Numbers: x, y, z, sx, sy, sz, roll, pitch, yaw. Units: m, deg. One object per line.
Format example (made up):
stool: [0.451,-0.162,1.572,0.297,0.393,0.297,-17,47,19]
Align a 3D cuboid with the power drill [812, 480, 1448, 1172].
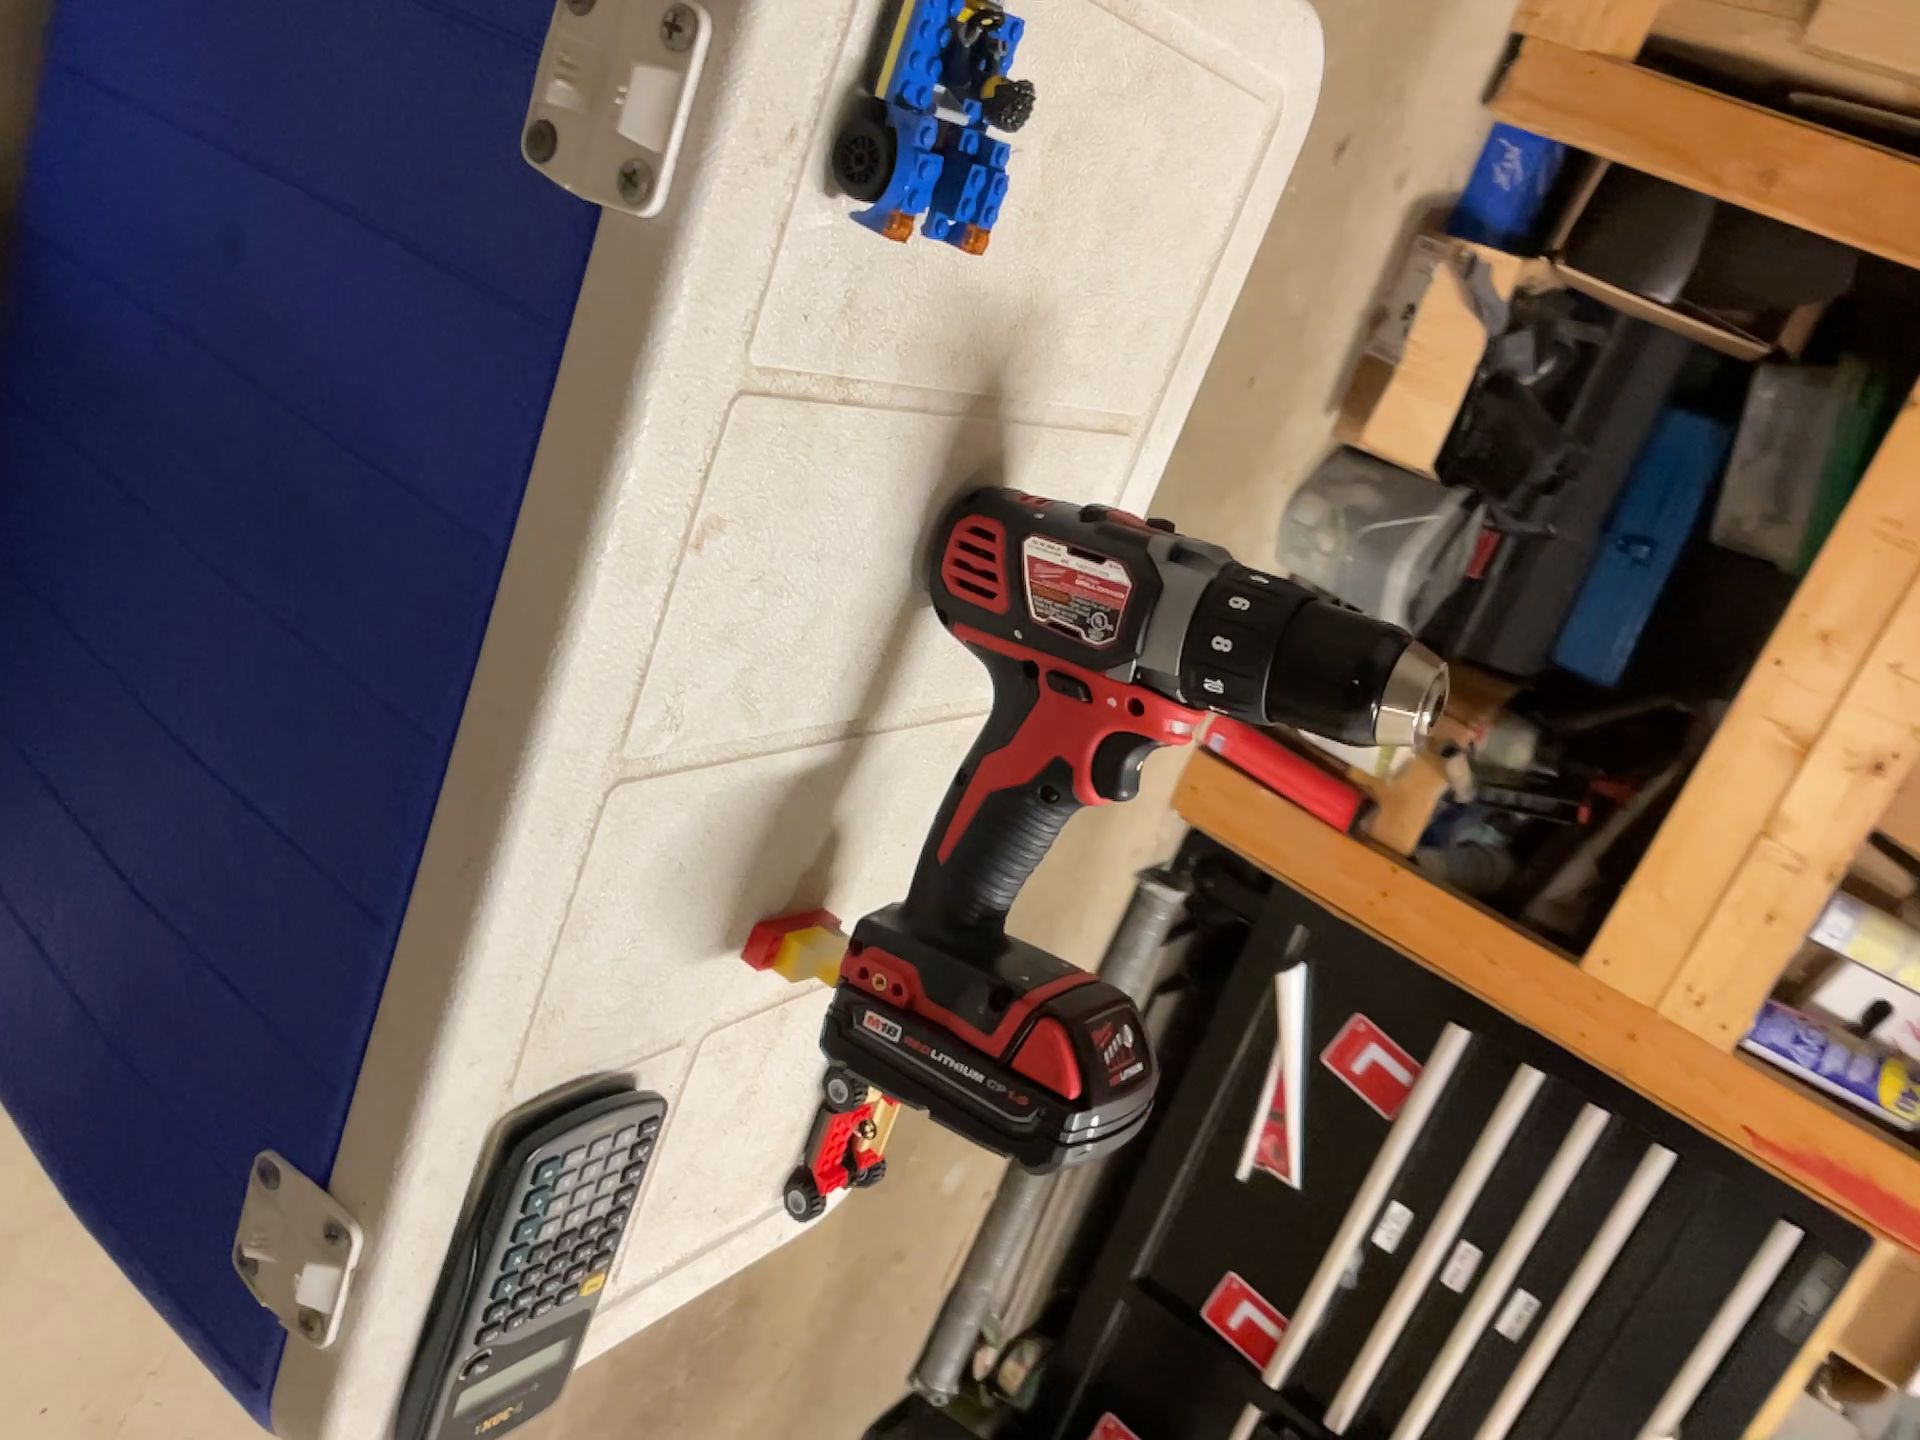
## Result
power drill: [0.054,0.040,0.571,0.080,0.188,0.226,-2,110,-61]
